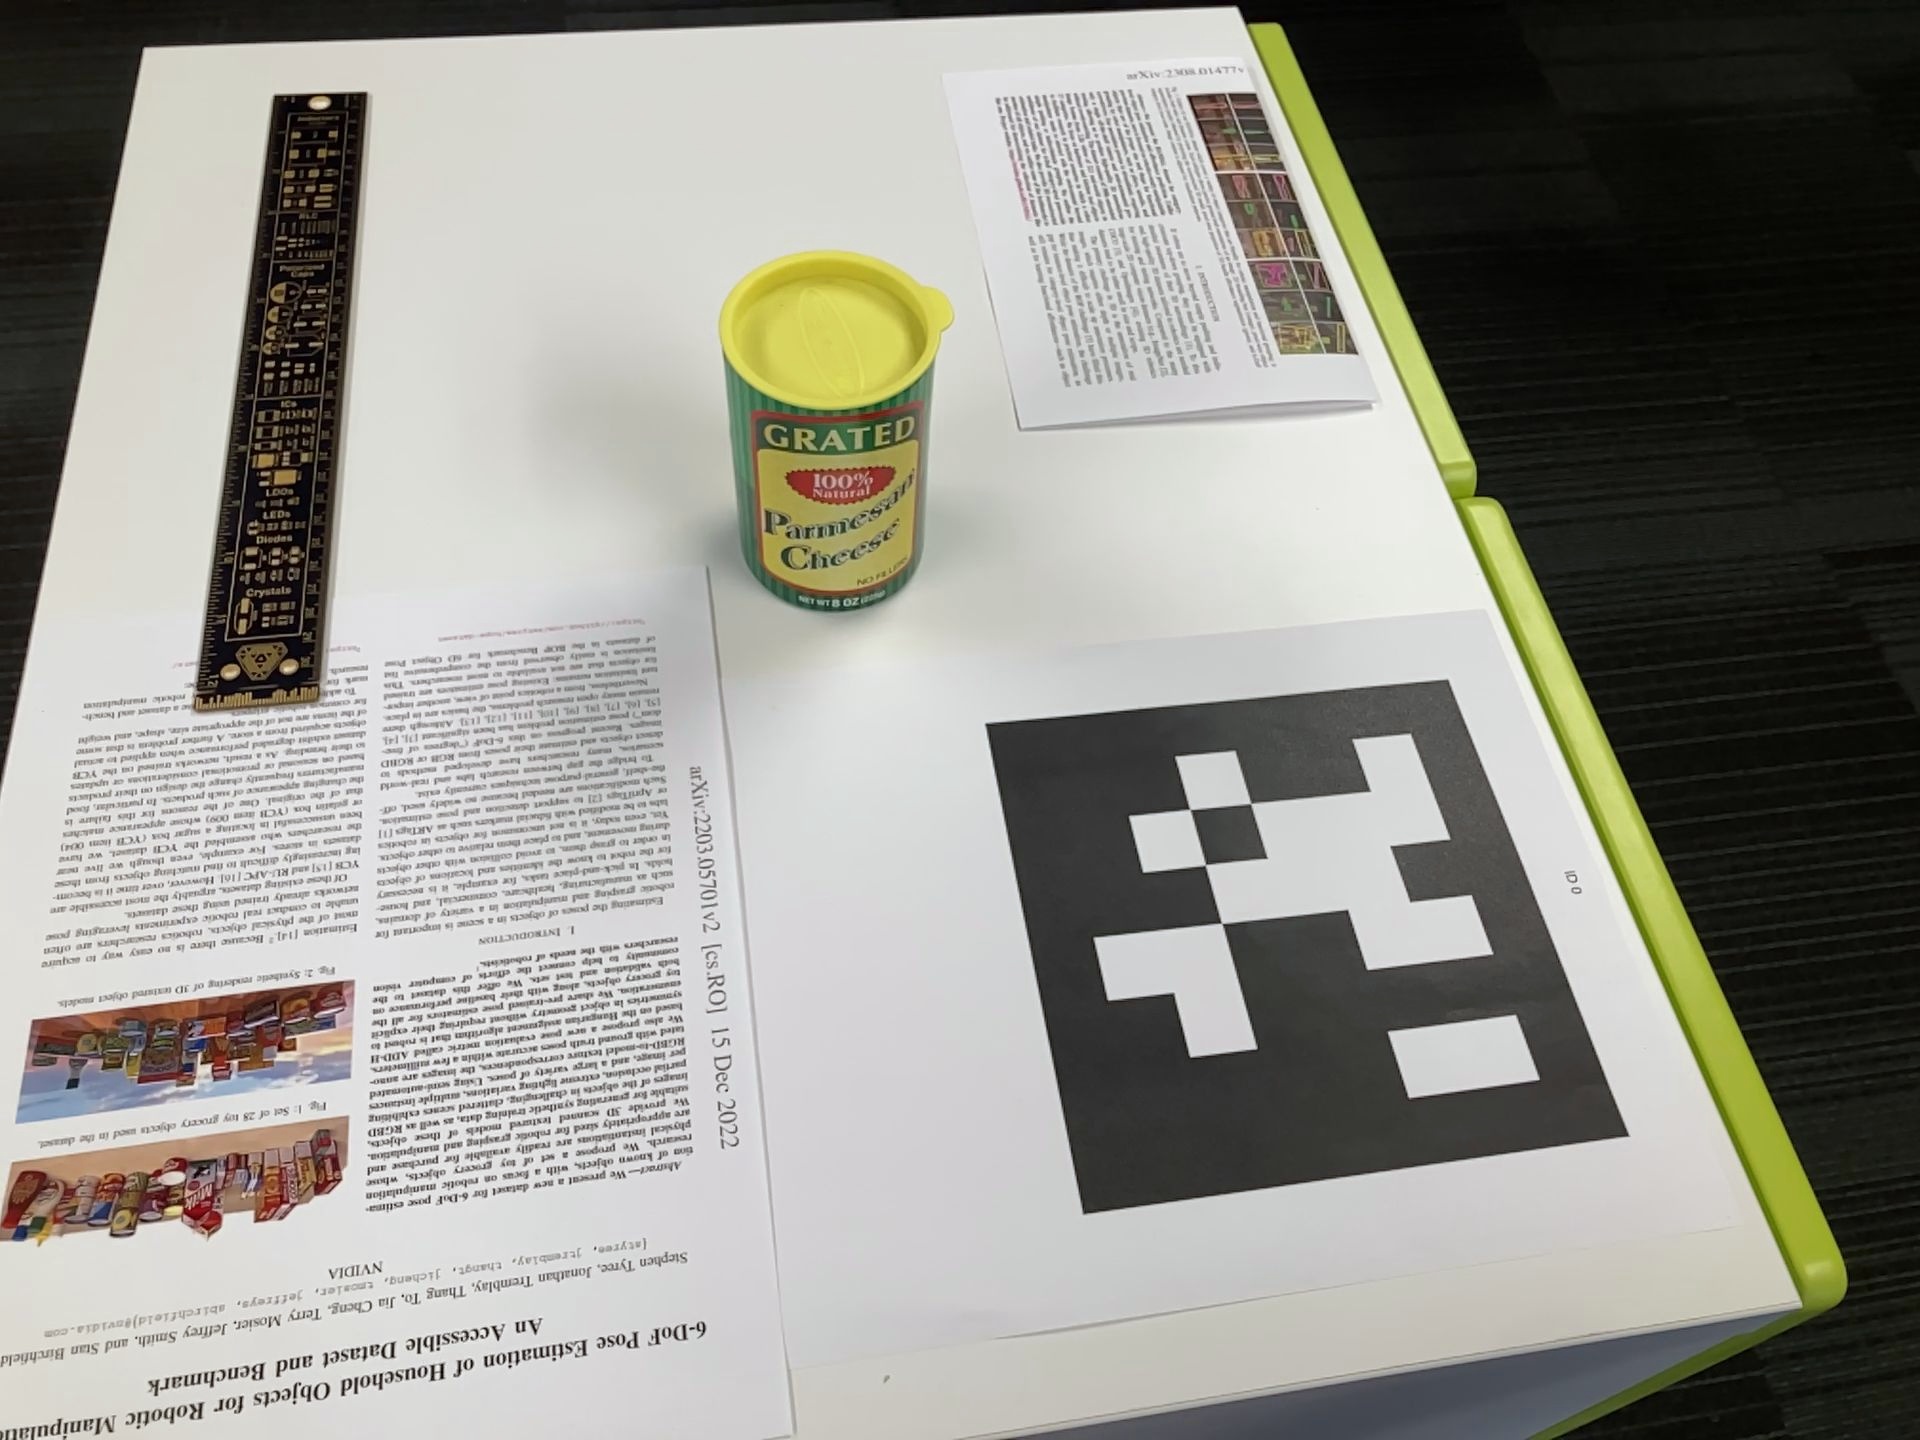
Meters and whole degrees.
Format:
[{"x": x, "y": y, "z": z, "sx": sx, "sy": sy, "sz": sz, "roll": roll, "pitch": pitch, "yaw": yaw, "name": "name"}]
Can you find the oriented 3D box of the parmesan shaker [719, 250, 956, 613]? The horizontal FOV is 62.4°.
[{"x": -0.039, "y": -0.091, "z": 0.517, "sx": 0.071, "sy": 0.103, "sz": 0.071, "roll": 2, "pitch": 57, "yaw": -3, "name": "parmesan shaker"}]
